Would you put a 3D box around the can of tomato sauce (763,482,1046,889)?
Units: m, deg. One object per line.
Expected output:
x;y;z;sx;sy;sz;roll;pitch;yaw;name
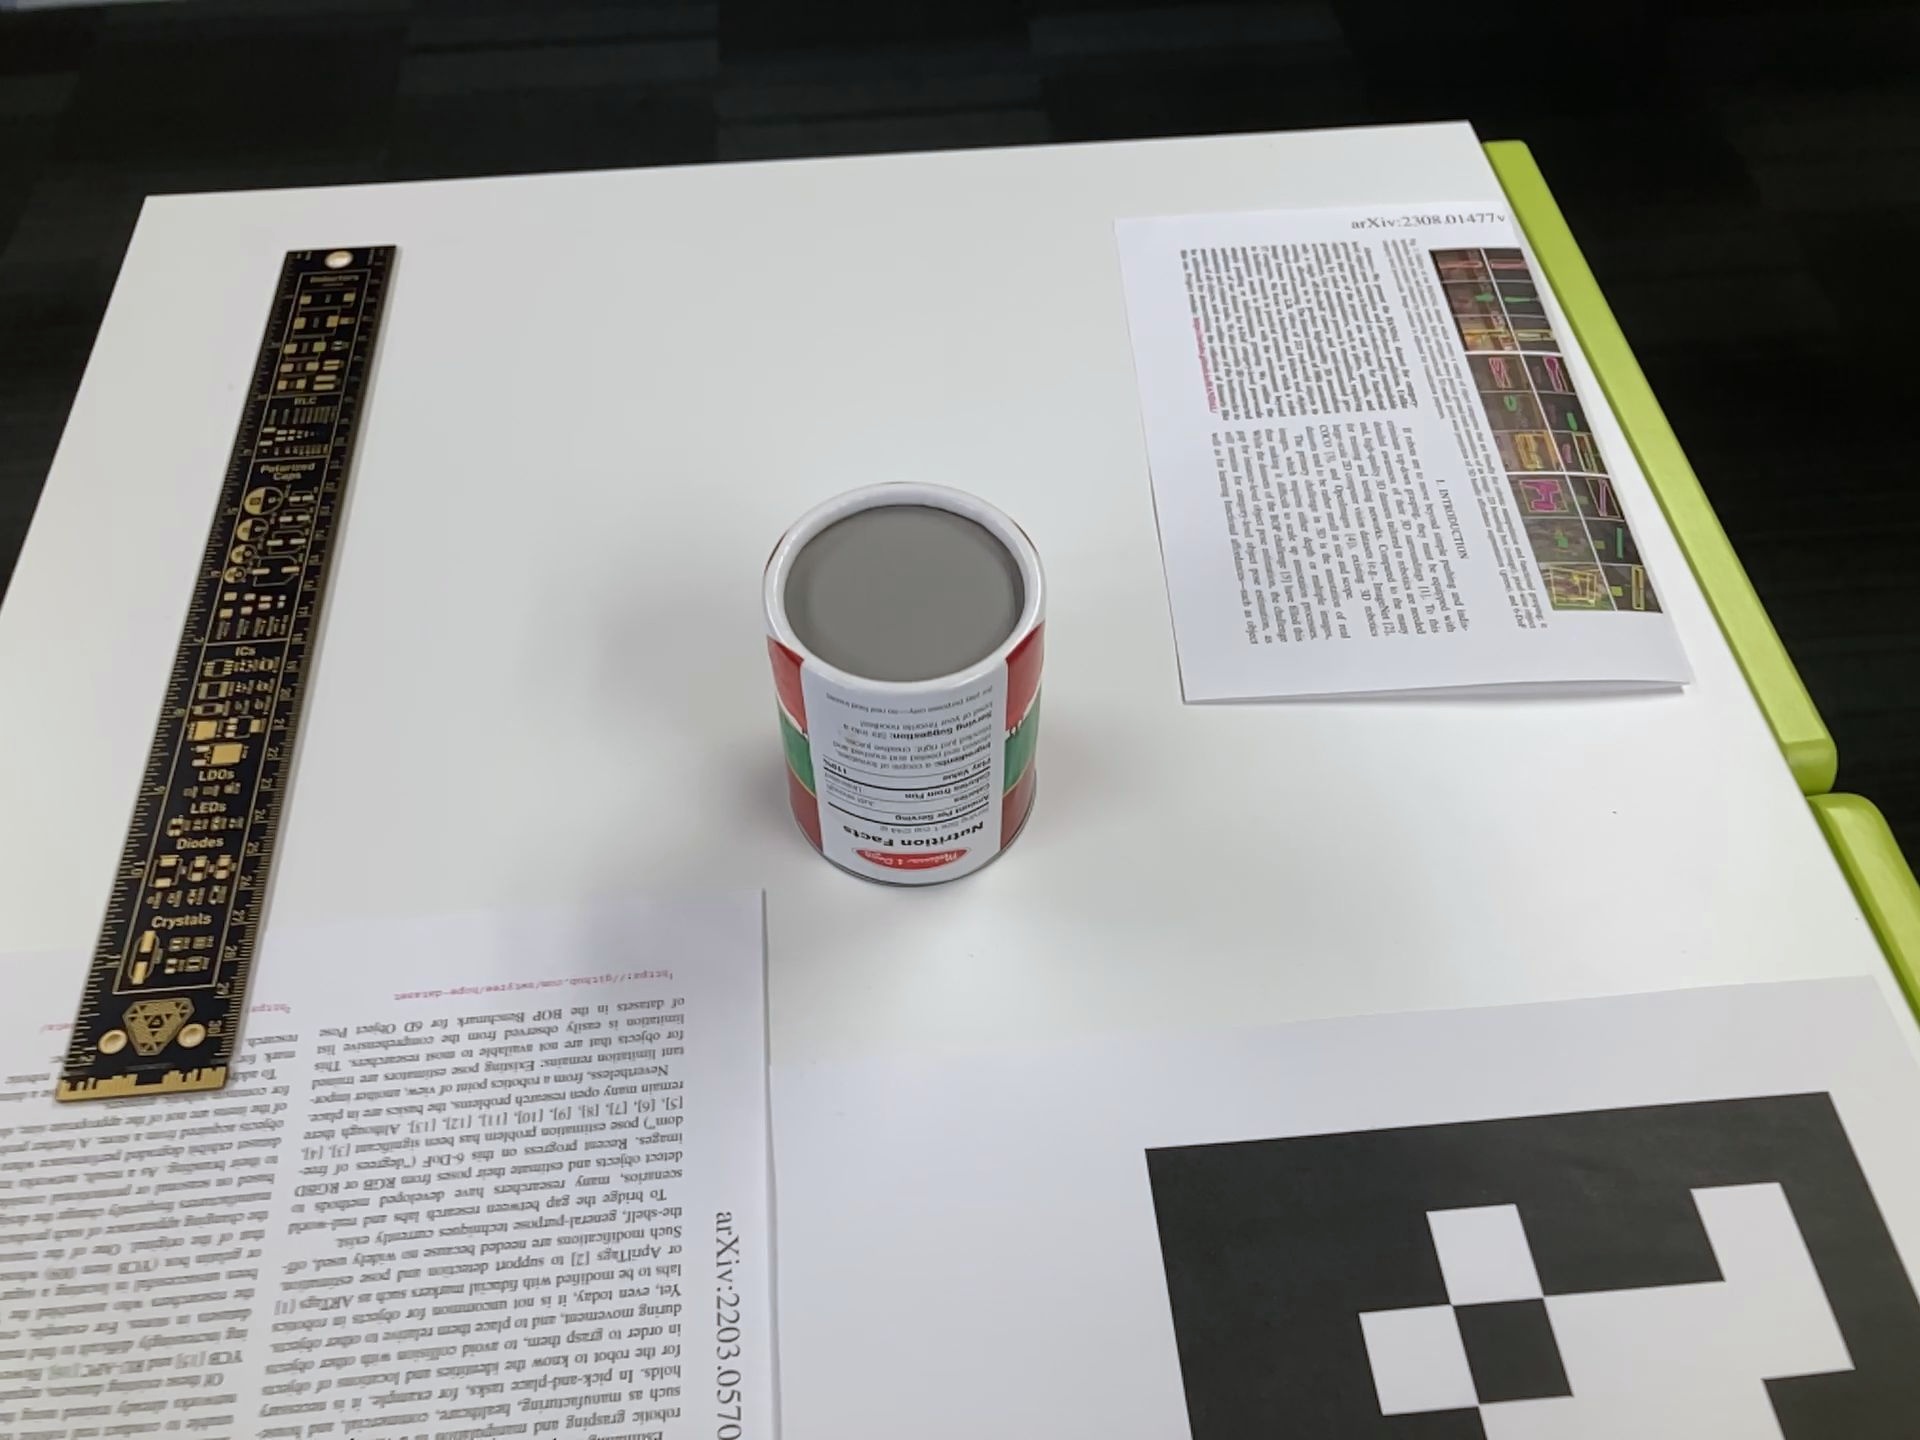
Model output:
-0.012;-0.009;0.398;0.071;0.083;0.071;-1;53;2;can of tomato sauce
